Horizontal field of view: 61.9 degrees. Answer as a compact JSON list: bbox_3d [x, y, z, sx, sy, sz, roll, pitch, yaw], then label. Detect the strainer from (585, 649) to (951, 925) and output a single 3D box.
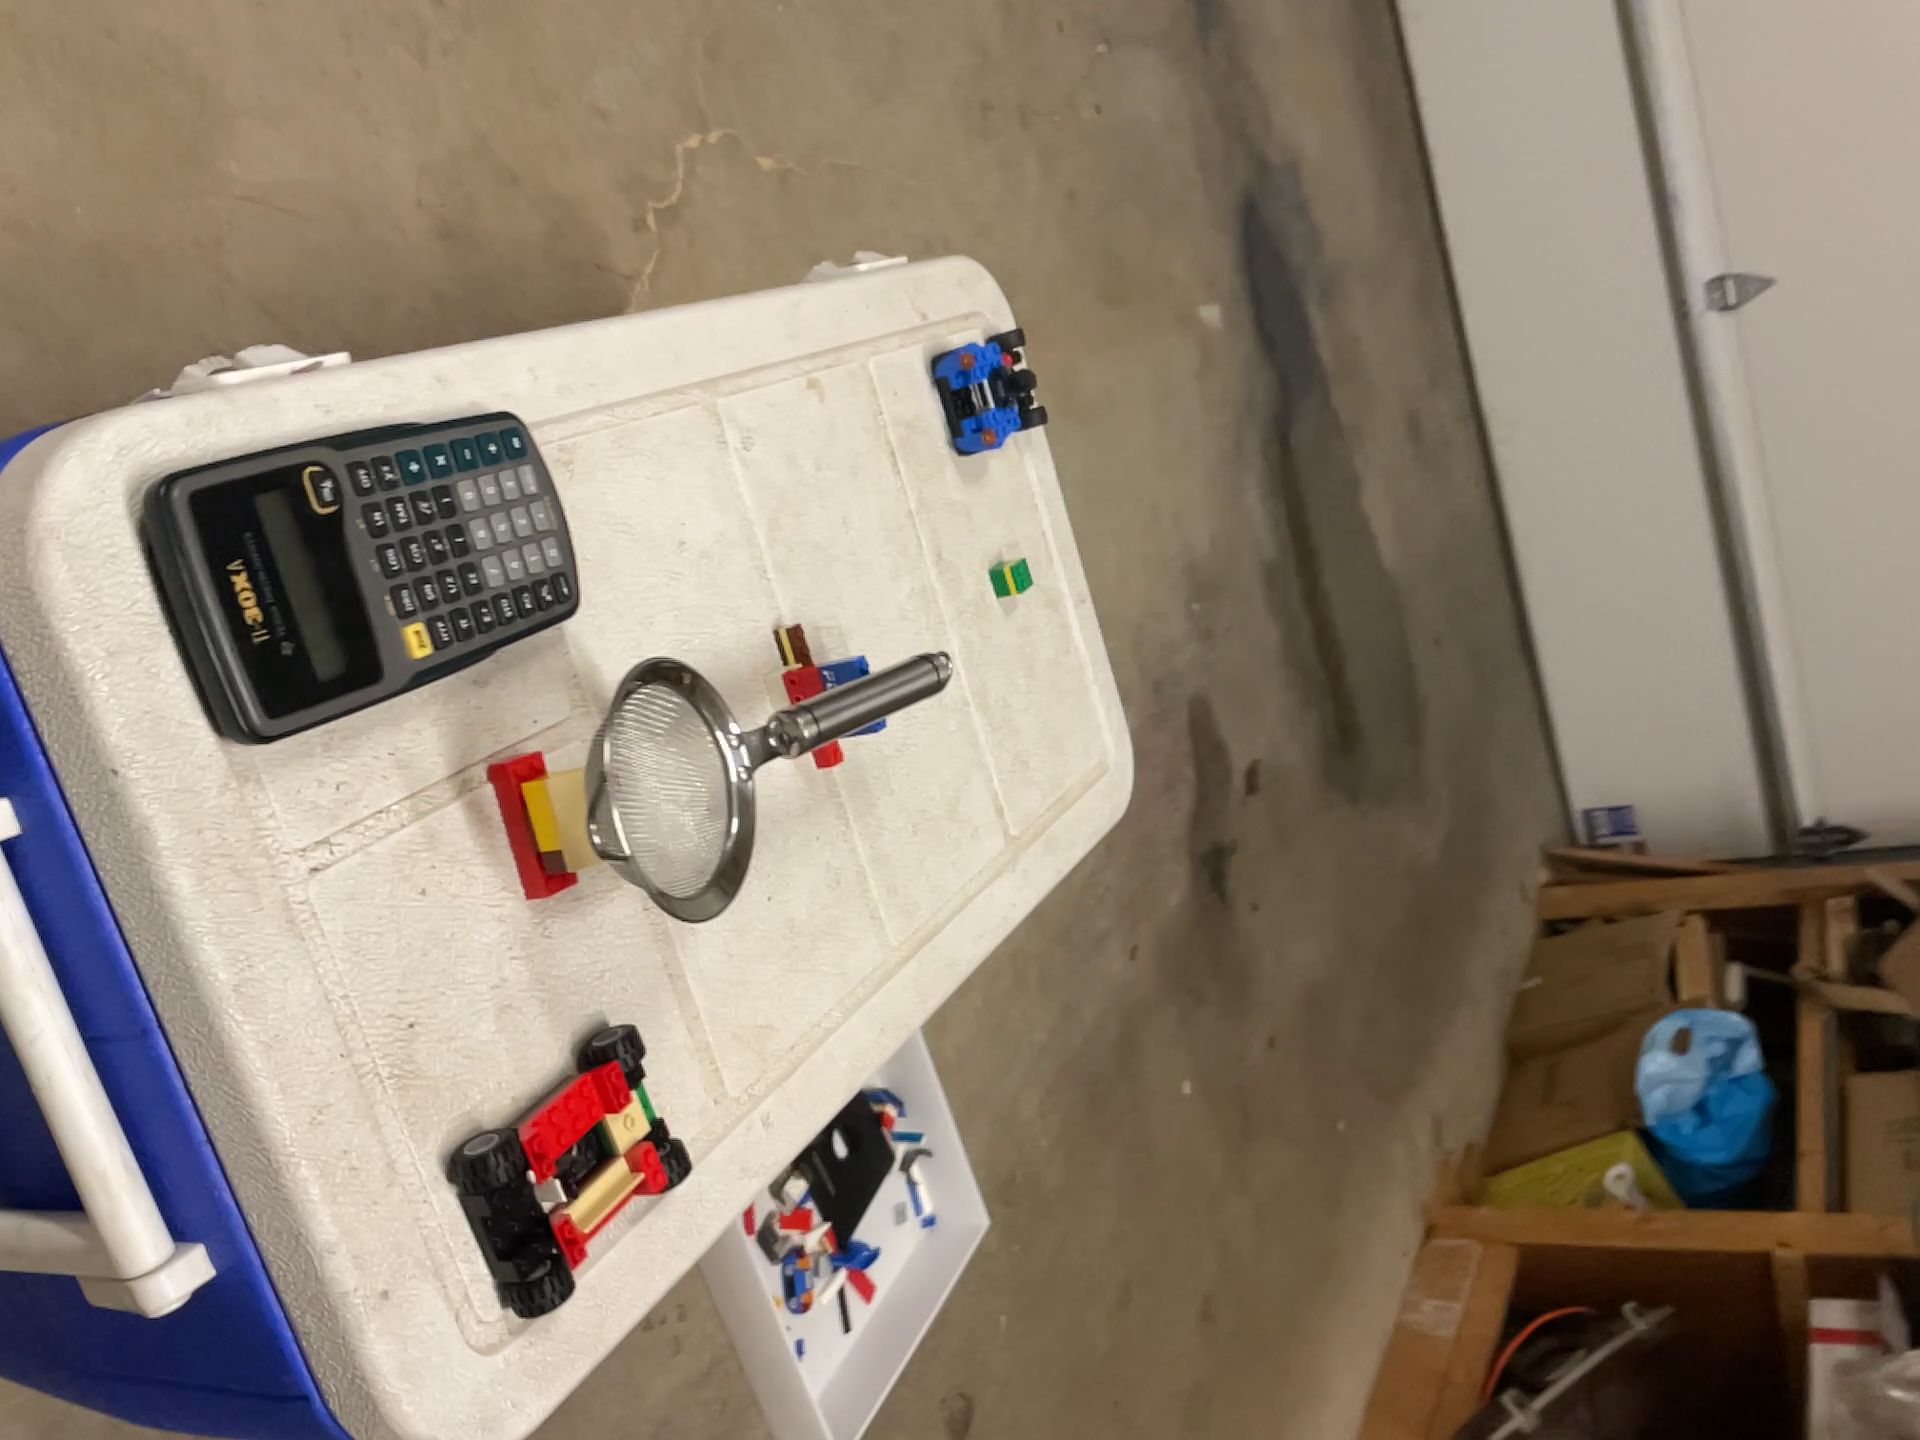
[{"bbox_3d":[-0.066,0.008,0.586,0.259,0.050,0.086,-27,107,-58],"label":"strainer"}]
